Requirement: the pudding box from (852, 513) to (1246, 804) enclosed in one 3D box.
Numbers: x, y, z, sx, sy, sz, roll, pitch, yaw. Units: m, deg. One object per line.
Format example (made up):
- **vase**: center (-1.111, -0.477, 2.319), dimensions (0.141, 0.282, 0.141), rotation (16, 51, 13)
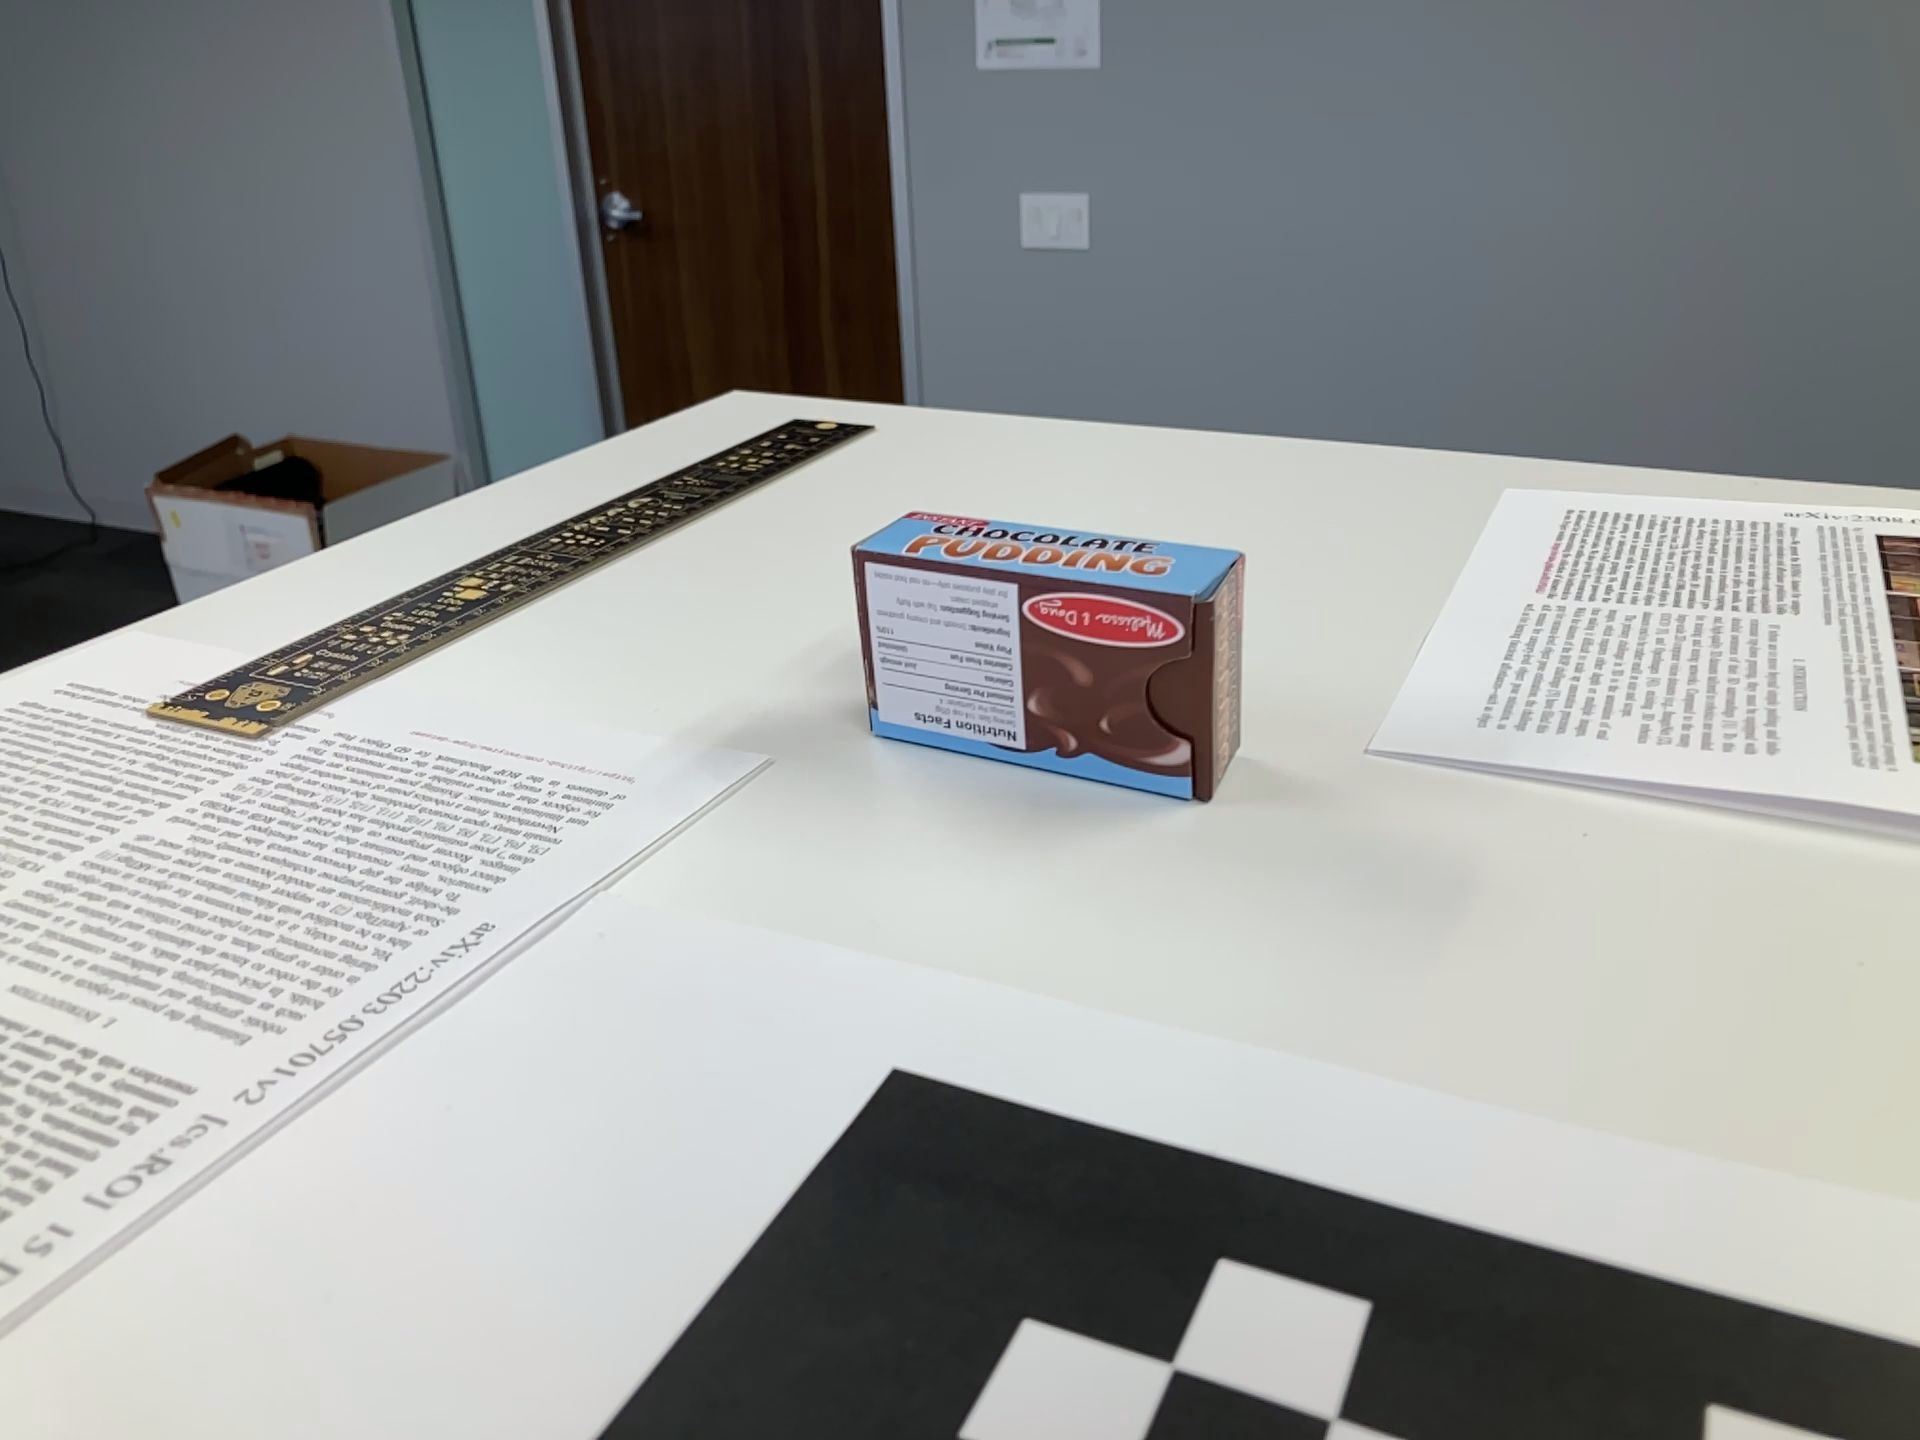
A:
- **pudding box**: center (0.020, -0.015, 0.353), dimensions (0.083, 0.049, 0.030), rotation (10, 29, 26)
